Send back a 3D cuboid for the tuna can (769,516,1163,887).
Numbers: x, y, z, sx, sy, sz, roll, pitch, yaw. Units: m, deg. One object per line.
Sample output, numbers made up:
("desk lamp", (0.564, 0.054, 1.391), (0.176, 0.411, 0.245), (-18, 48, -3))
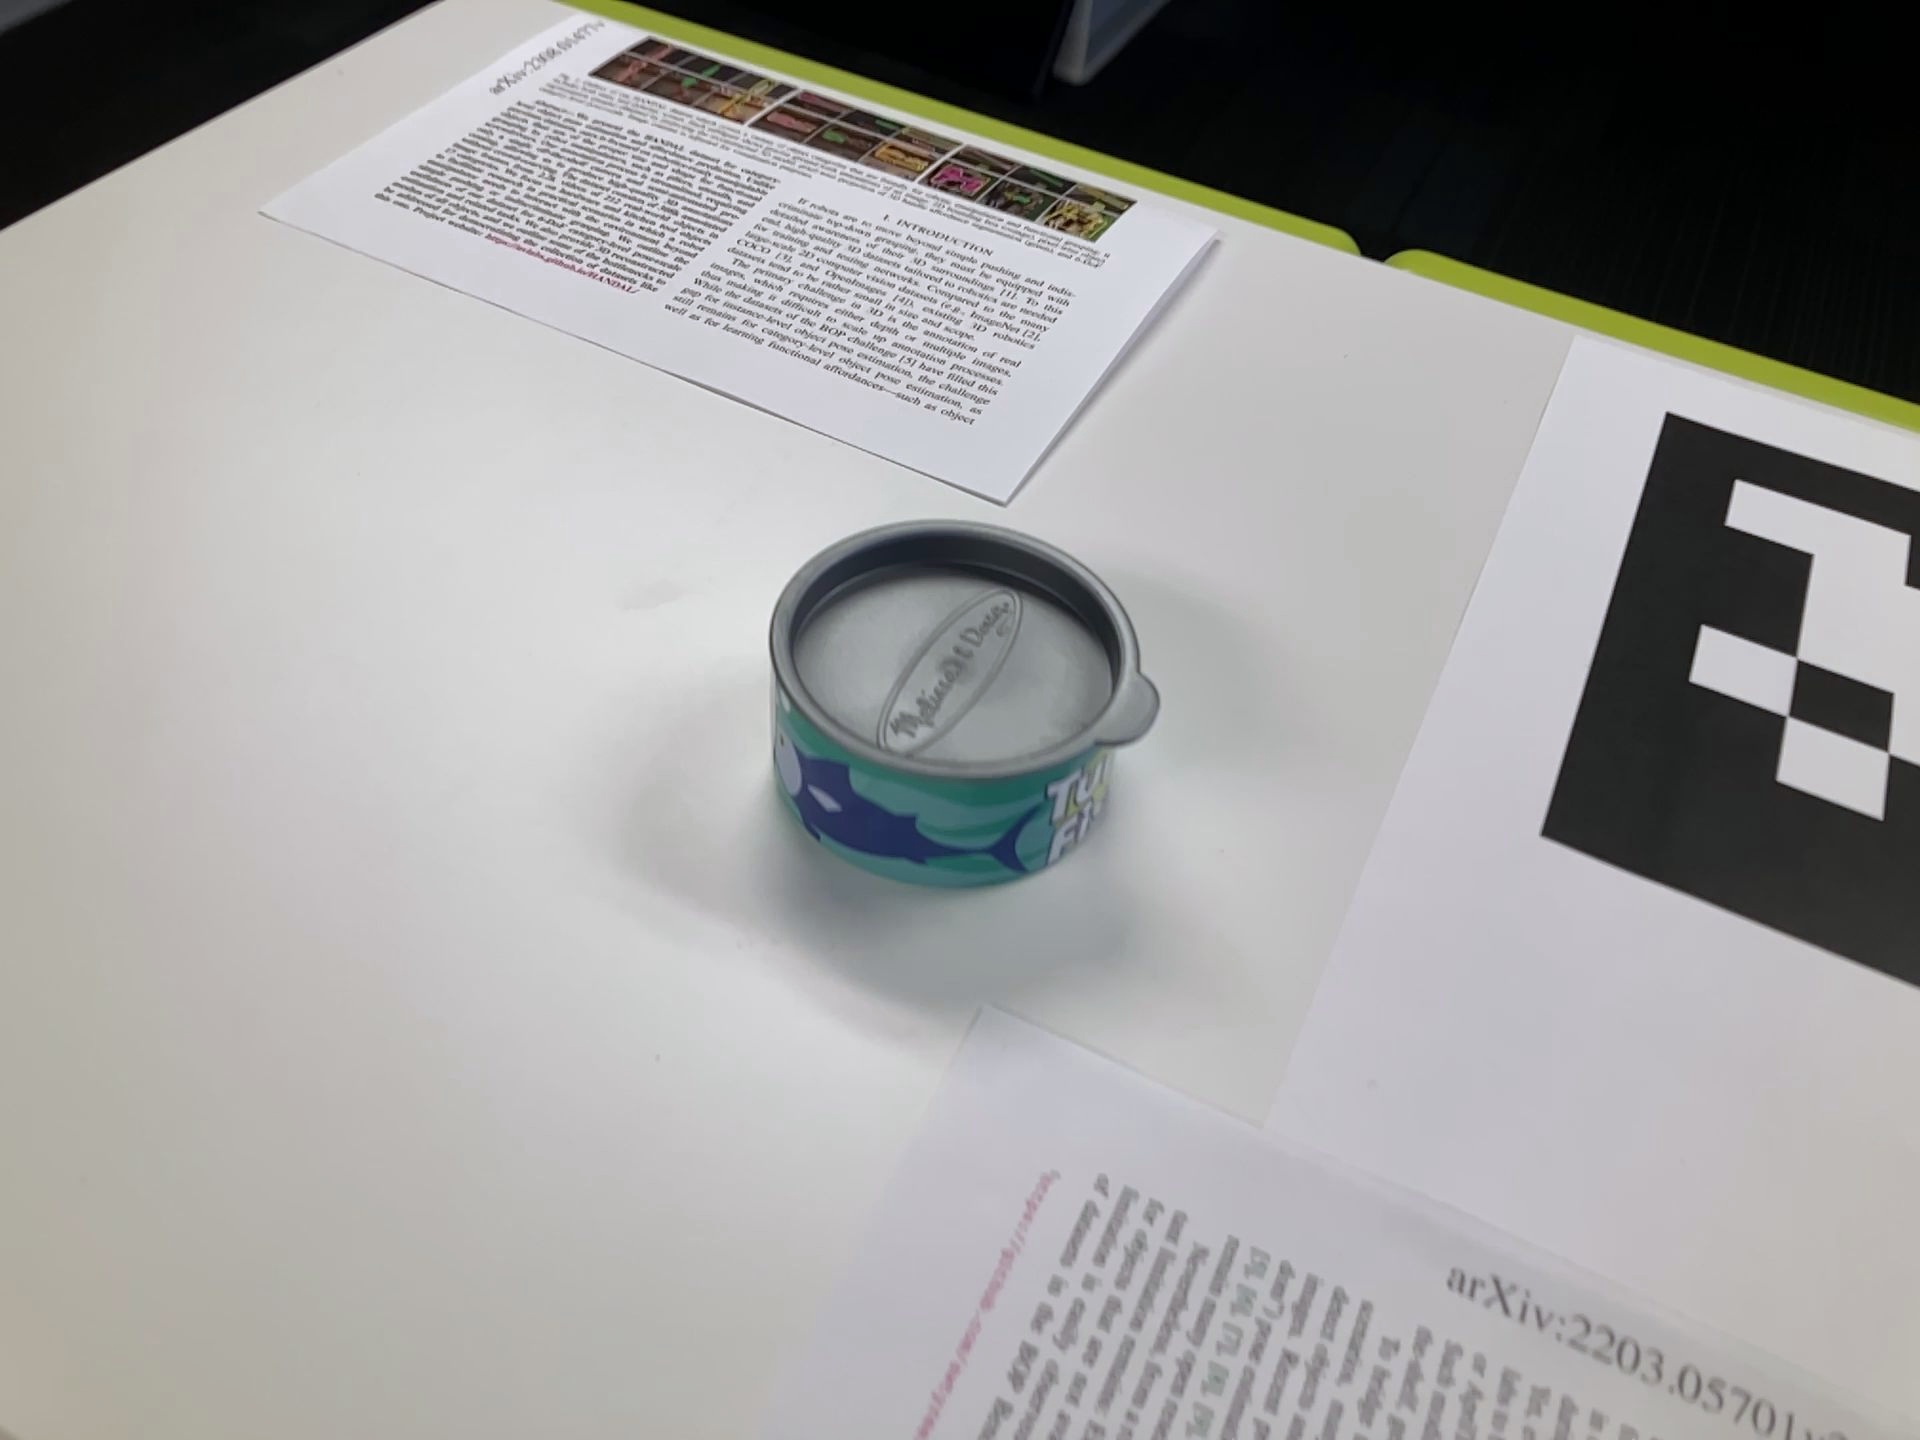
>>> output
("tuna can", (0.000, -0.003, 0.290), (0.071, 0.033, 0.071), (4, 46, -4))
